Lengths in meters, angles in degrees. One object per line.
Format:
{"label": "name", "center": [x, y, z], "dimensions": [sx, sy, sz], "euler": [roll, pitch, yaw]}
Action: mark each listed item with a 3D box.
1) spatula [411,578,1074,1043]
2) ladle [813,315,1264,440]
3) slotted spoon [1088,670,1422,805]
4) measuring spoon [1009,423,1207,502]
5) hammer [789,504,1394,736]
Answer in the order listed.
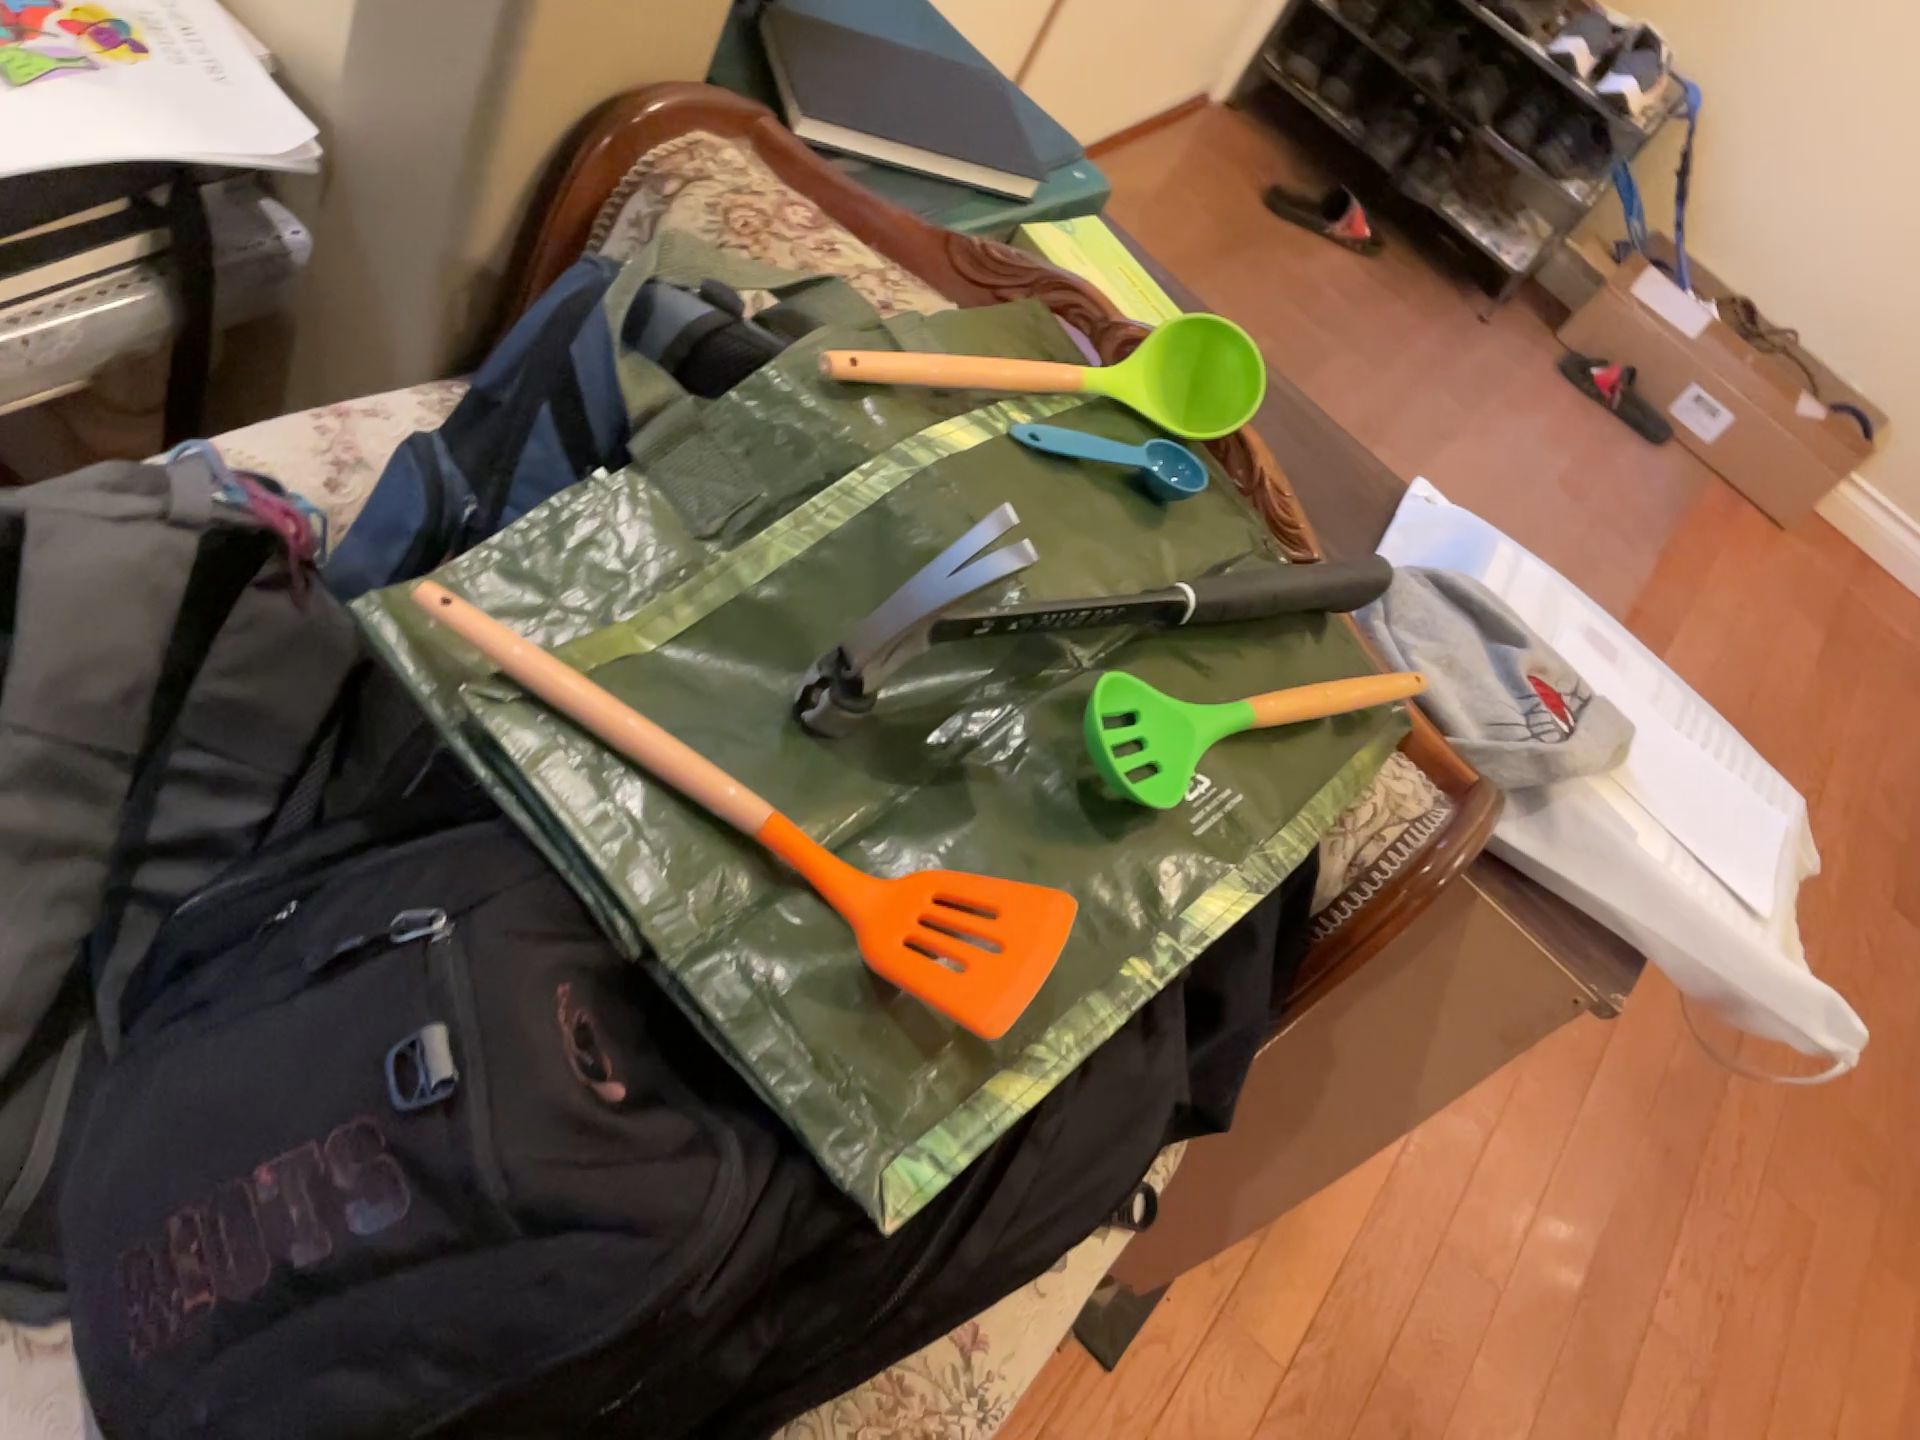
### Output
{"label": "spatula", "center": [-0.103, 0.027, 0.683], "dimensions": [0.322, 0.041, 0.081], "euler": [34, 52, 4]}
{"label": "ladle", "center": [0.054, -0.195, 0.887], "dimensions": [0.320, 0.062, 0.078], "euler": [-8, 84, -43]}
{"label": "slotted spoon", "center": [0.165, -0.004, 0.838], "dimensions": [0.313, 0.031, 0.070], "euler": [-9, 74, -46]}
{"label": "measuring spoon", "center": [0.080, -0.144, 0.887], "dimensions": [0.128, 0.021, 0.042], "euler": [7, 49, -27]}
{"label": "hammer", "center": [0.108, -0.063, 0.835], "dimensions": [0.408, 0.149, 0.036], "euler": [-9, 68, -43]}
